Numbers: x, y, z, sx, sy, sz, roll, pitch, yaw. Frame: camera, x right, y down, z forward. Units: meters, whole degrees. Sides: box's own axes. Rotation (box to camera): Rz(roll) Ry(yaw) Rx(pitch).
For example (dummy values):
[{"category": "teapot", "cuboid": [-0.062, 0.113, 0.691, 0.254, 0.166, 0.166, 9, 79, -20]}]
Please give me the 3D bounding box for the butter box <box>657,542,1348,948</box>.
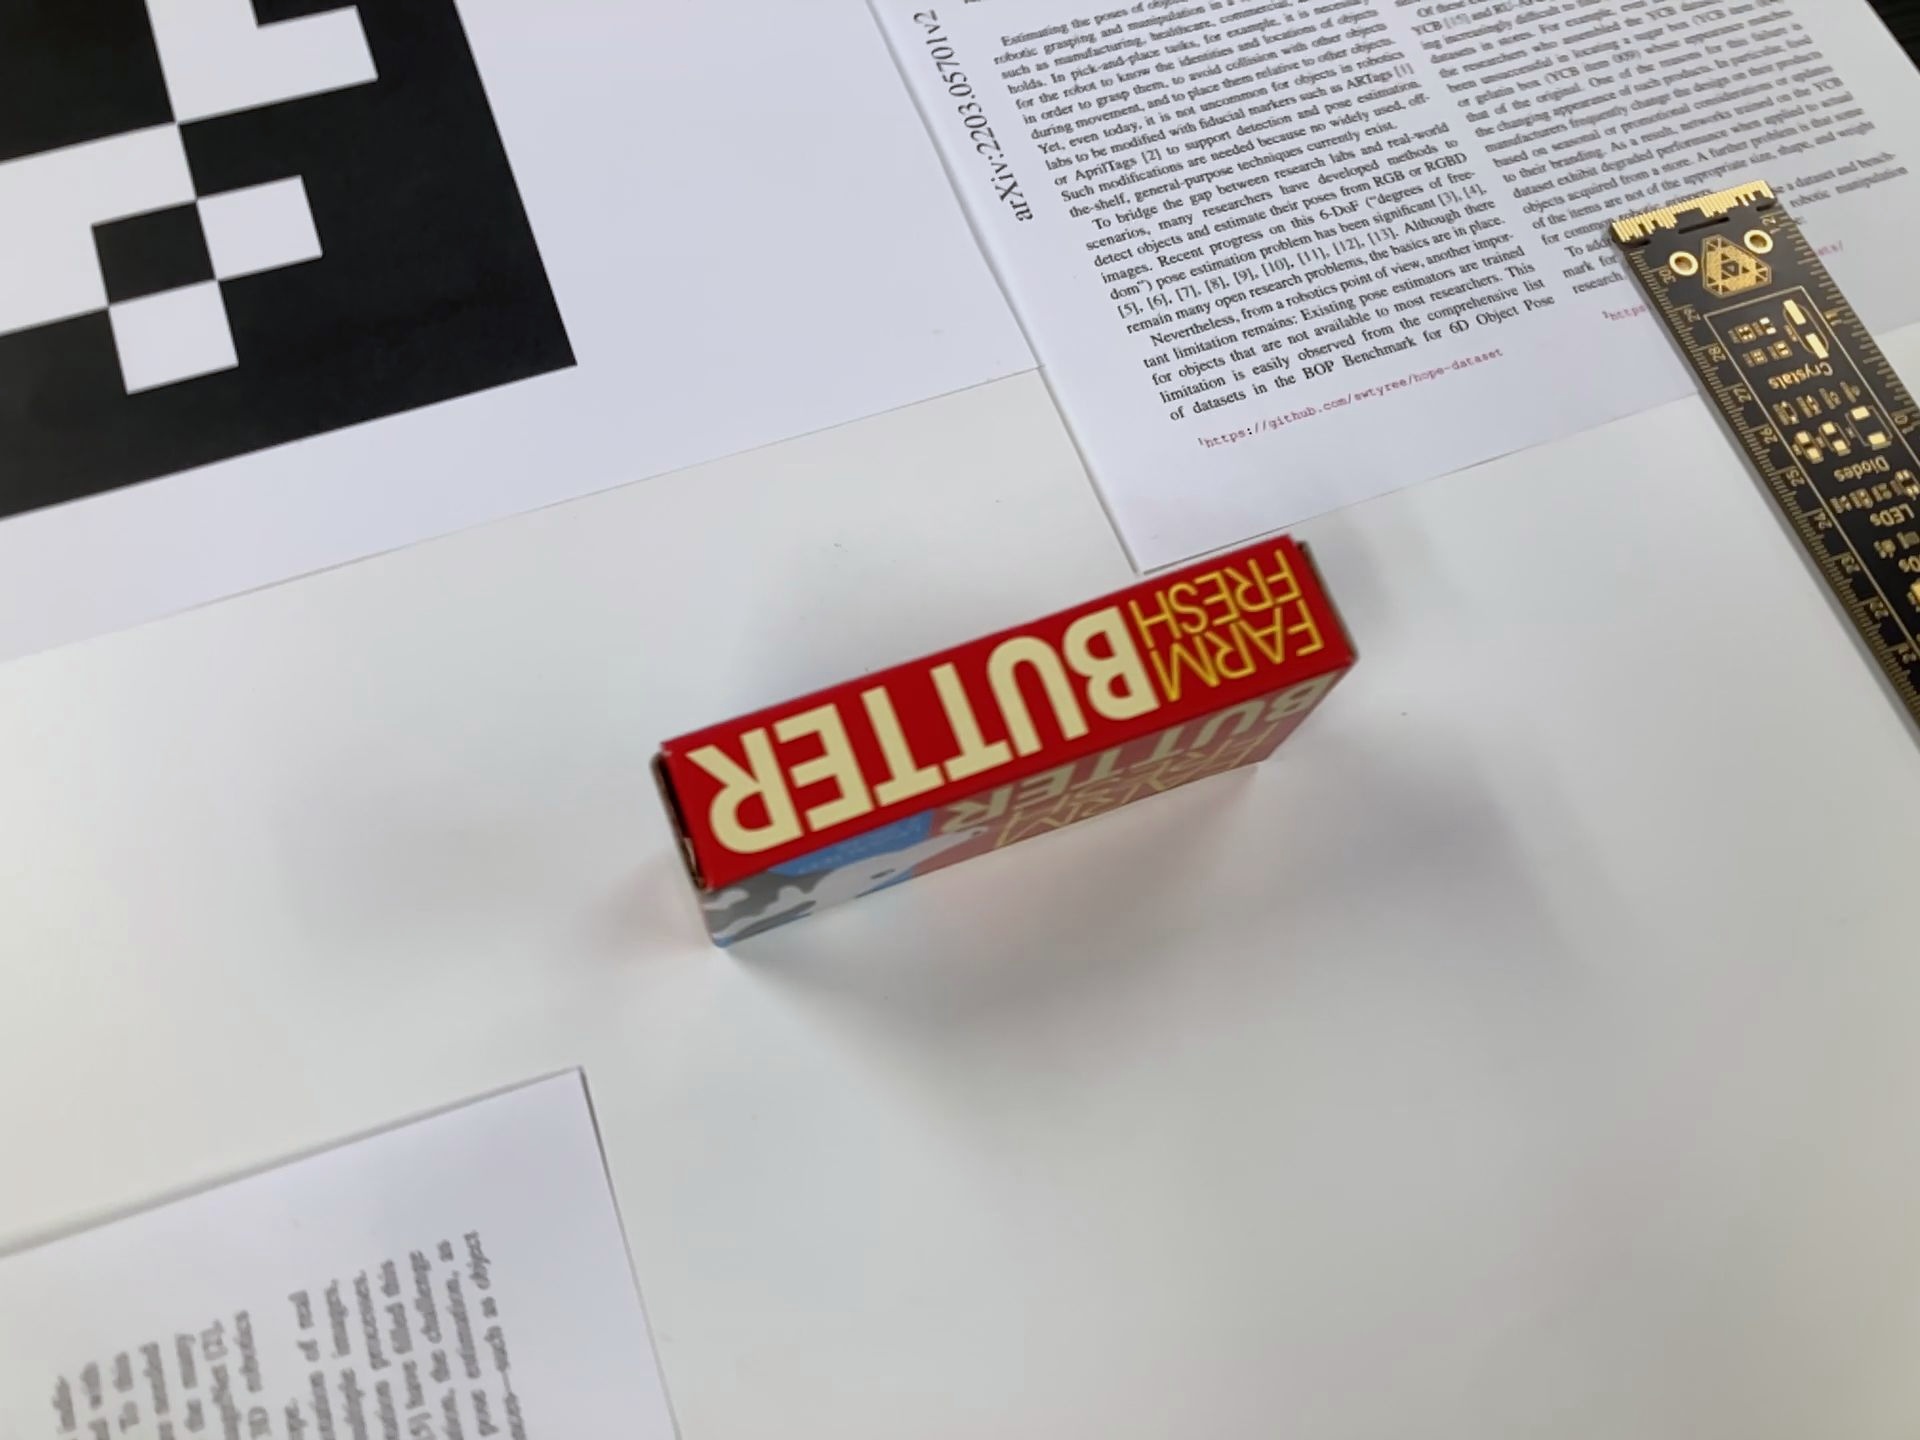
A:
[{"category": "butter box", "cuboid": [0.005, 0.005, 0.255, 0.103, 0.053, 0.024, -18, 76, -11]}]
